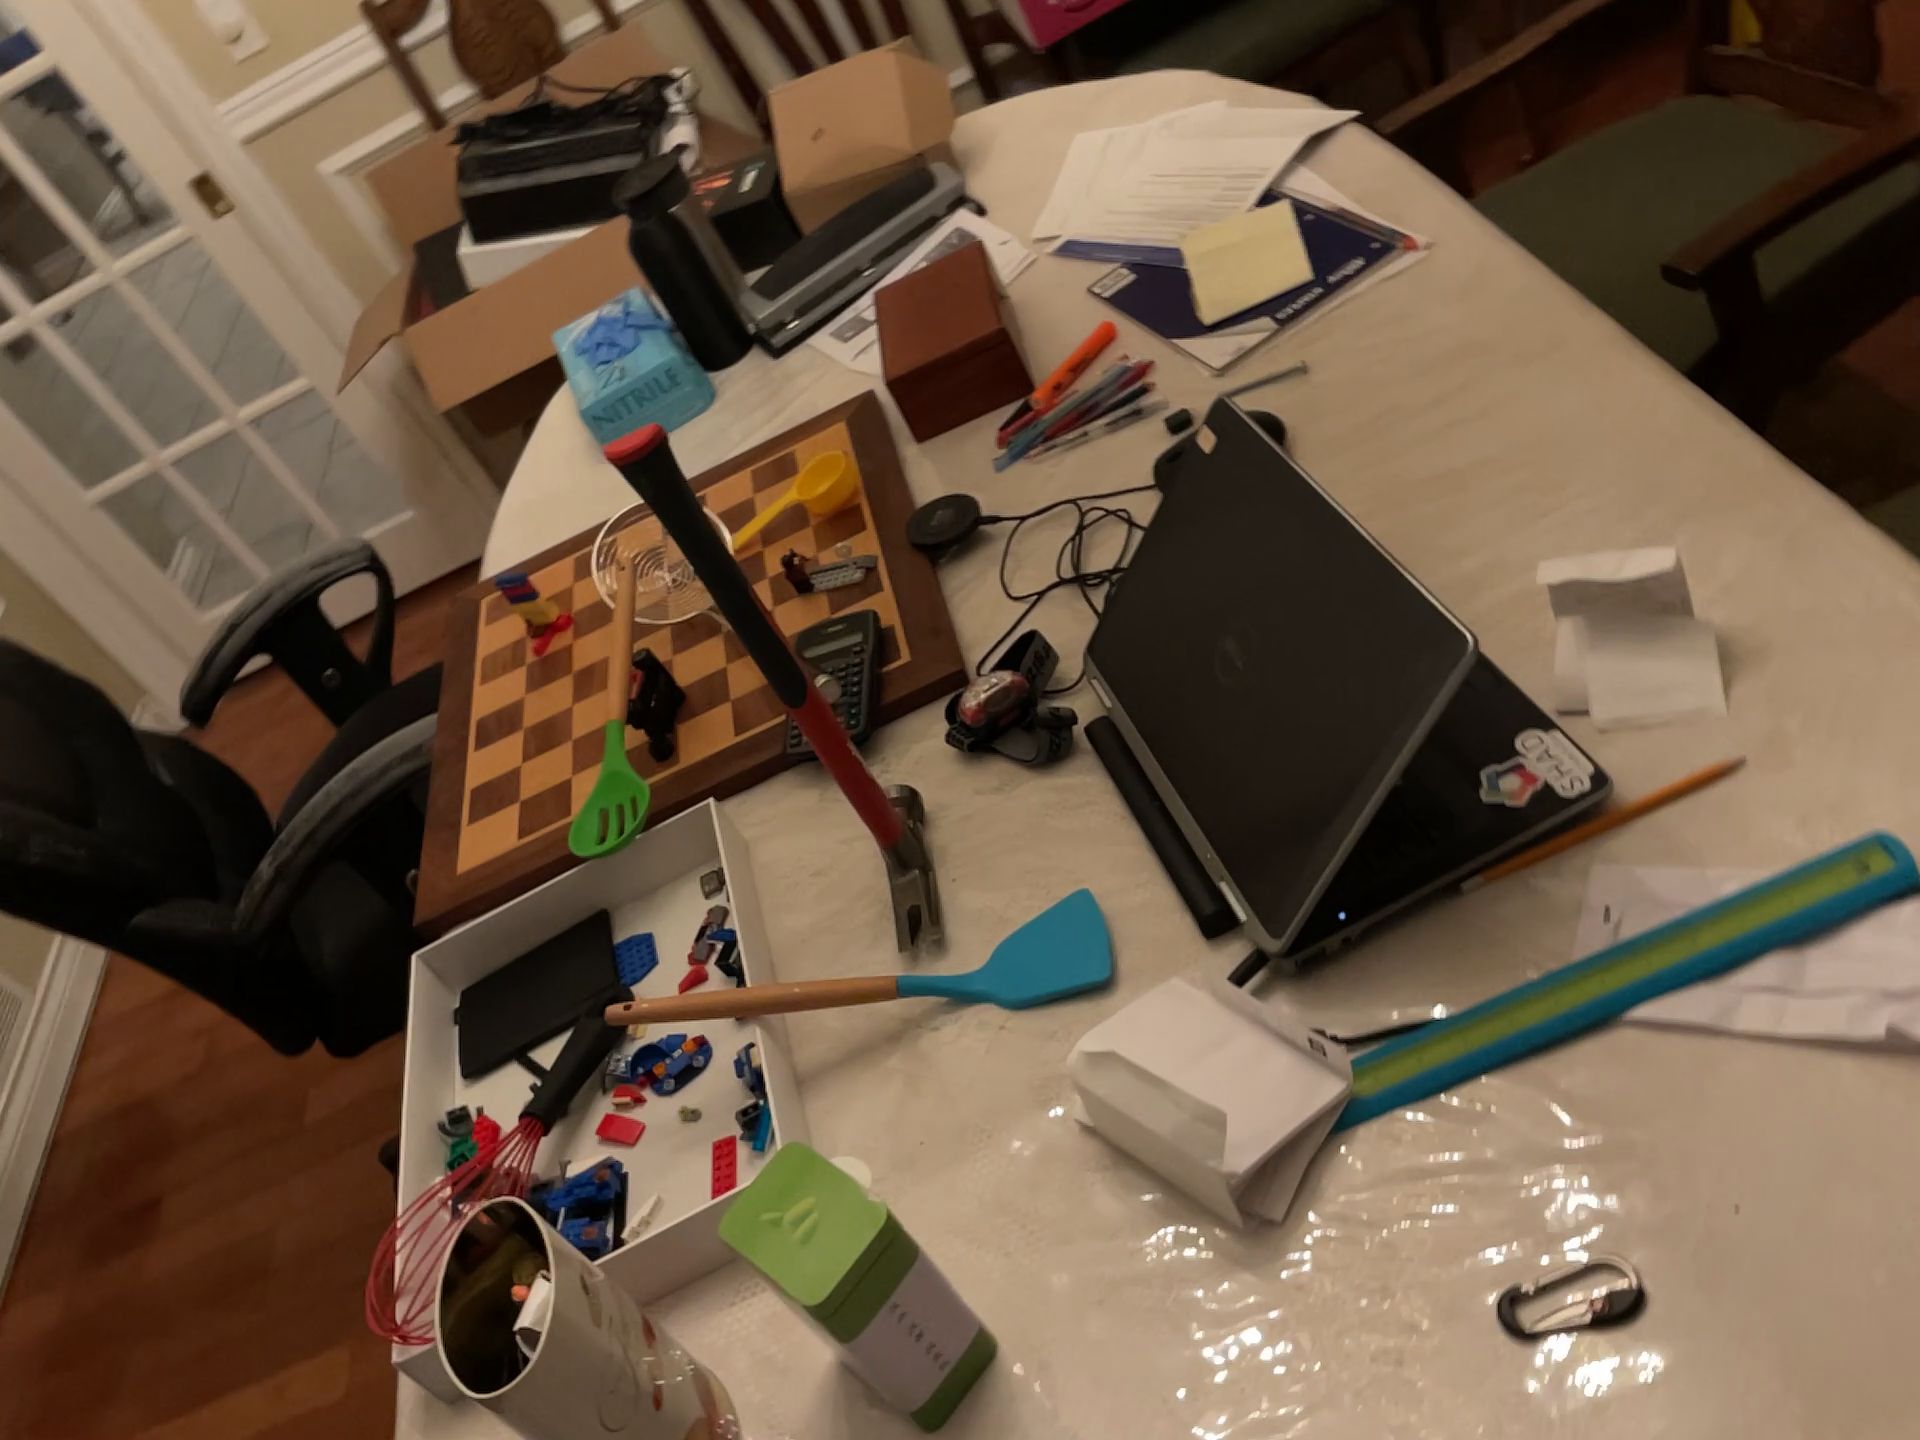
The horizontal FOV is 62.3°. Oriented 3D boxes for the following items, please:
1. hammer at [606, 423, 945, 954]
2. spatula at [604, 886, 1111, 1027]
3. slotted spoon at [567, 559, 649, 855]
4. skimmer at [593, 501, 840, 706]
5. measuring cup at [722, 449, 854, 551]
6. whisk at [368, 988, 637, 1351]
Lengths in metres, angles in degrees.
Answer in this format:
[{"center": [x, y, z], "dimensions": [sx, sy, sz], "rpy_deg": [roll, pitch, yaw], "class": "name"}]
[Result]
[{"center": [-0.105, -0.016, 0.993], "dimensions": [0.038, 0.385, 0.143], "rpy_deg": [-23, 38, 8], "class": "hammer"}, {"center": [-0.066, 0.163, 1.002], "dimensions": [0.317, 0.044, 0.082], "rpy_deg": [-6, 41, -3], "class": "spatula"}, {"center": [-0.273, -0.017, 1.274], "dimensions": [0.070, 0.031, 0.314], "rpy_deg": [-20, 48, 16], "class": "slotted spoon"}, {"center": [-0.204, -0.101, 1.343], "dimensions": [0.127, 0.090, 0.364], "rpy_deg": [-38, 34, -13], "class": "skimmer"}, {"center": [-0.163, -0.194, 1.490], "dimensions": [0.156, 0.029, 0.062], "rpy_deg": [-35, 40, 14], "class": "measuring cup"}, {"center": [-0.283, 0.276, 1.026], "dimensions": [0.073, 0.073, 0.296], "rpy_deg": [8, 35, 16], "class": "whisk"}]
